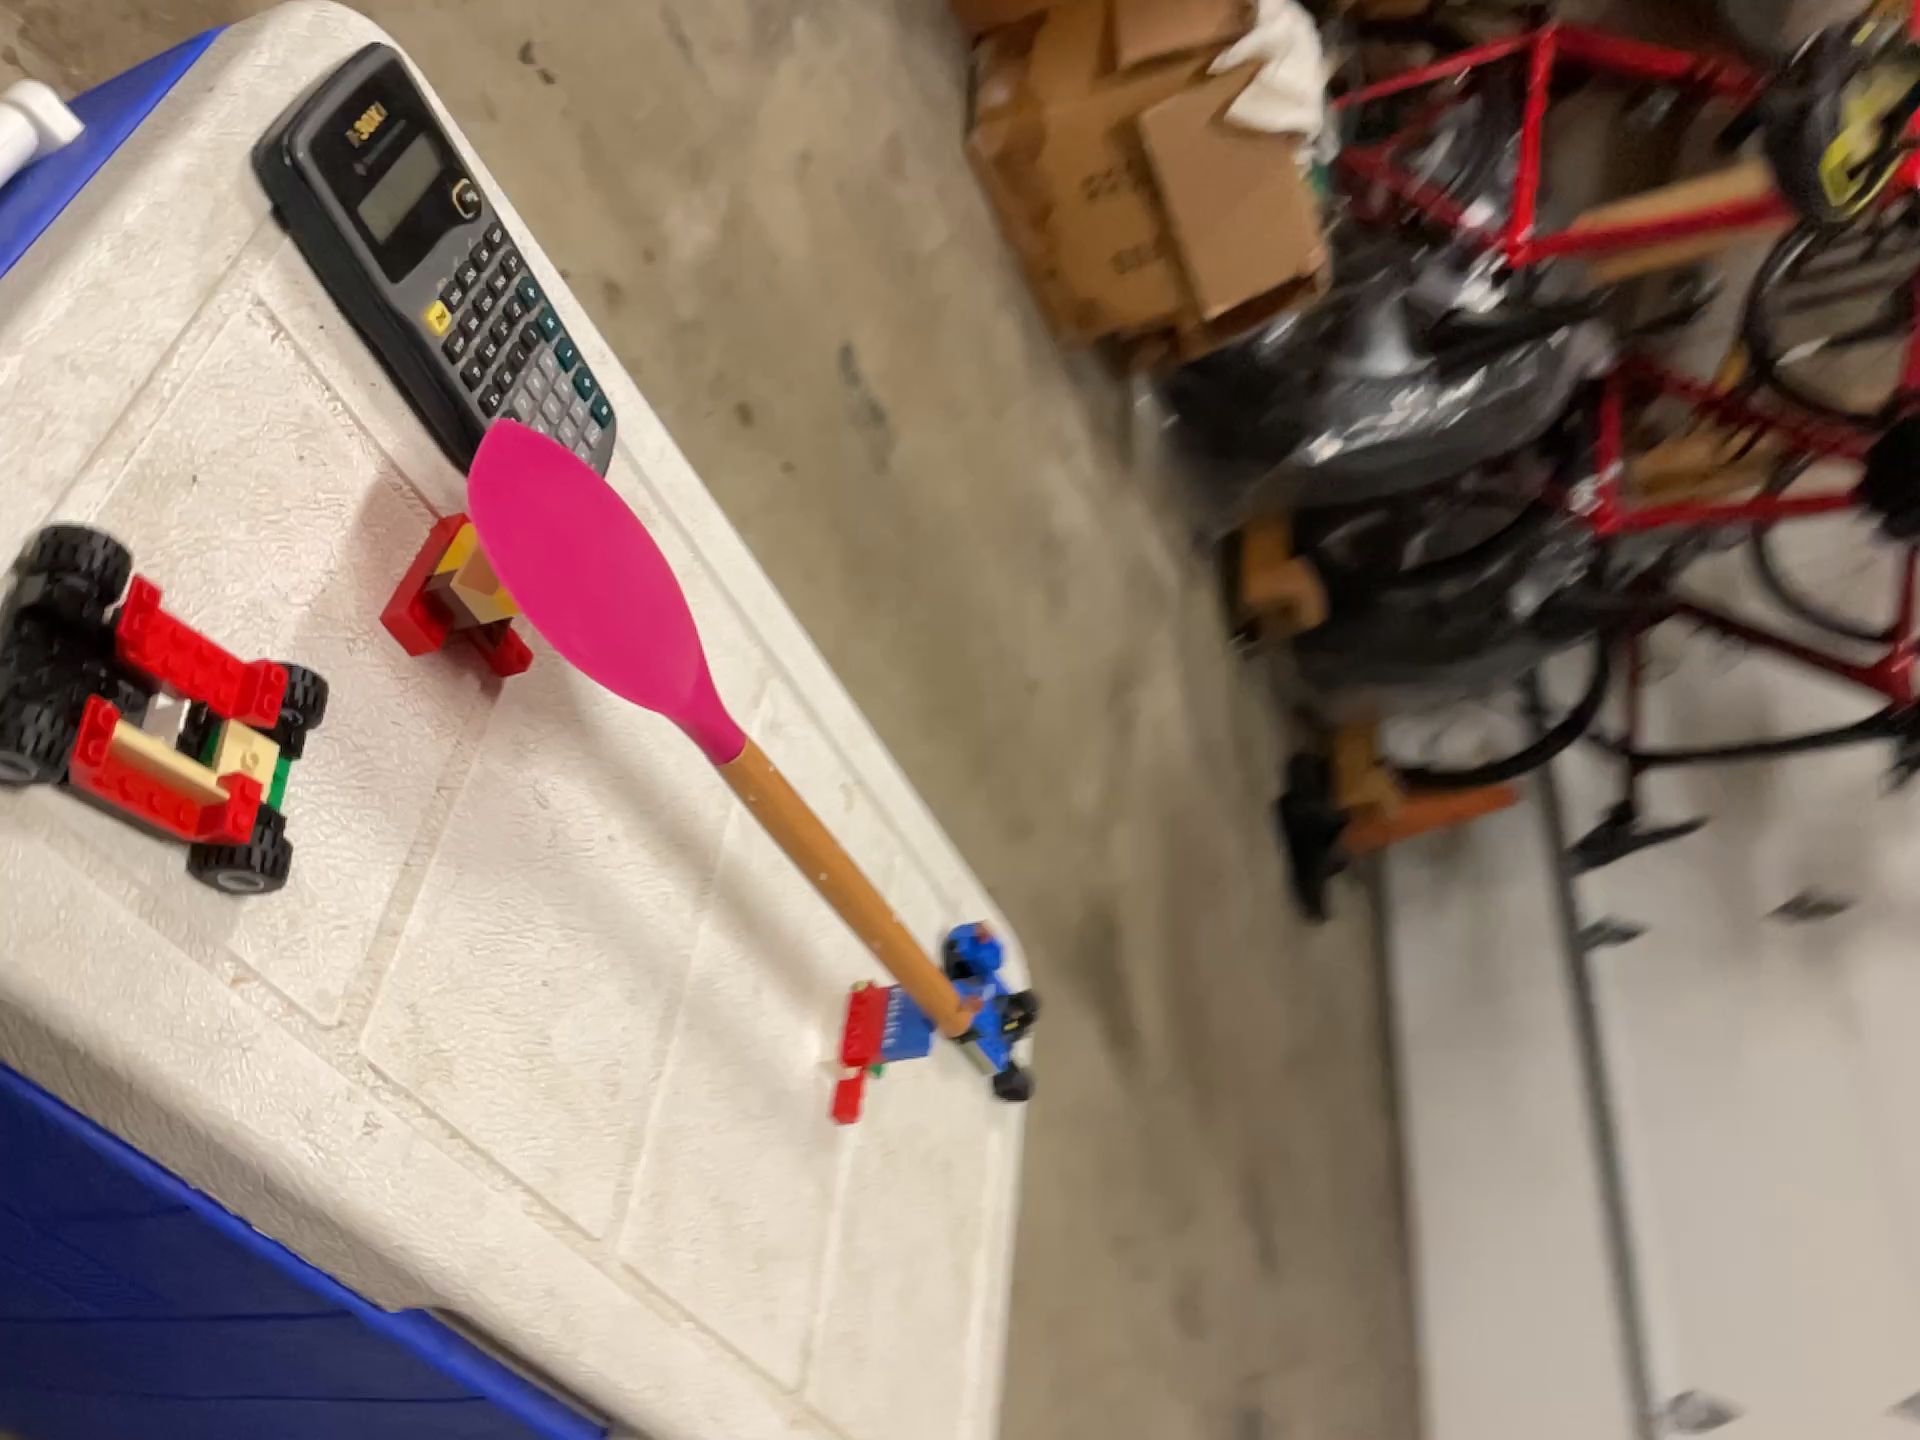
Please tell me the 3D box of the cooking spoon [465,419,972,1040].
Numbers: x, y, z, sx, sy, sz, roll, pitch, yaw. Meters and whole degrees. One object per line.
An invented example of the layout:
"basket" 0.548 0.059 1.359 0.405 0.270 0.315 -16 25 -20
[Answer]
"cooking spoon" -0.068 0.026 0.546 0.318 0.017 0.069 56 31 -41
